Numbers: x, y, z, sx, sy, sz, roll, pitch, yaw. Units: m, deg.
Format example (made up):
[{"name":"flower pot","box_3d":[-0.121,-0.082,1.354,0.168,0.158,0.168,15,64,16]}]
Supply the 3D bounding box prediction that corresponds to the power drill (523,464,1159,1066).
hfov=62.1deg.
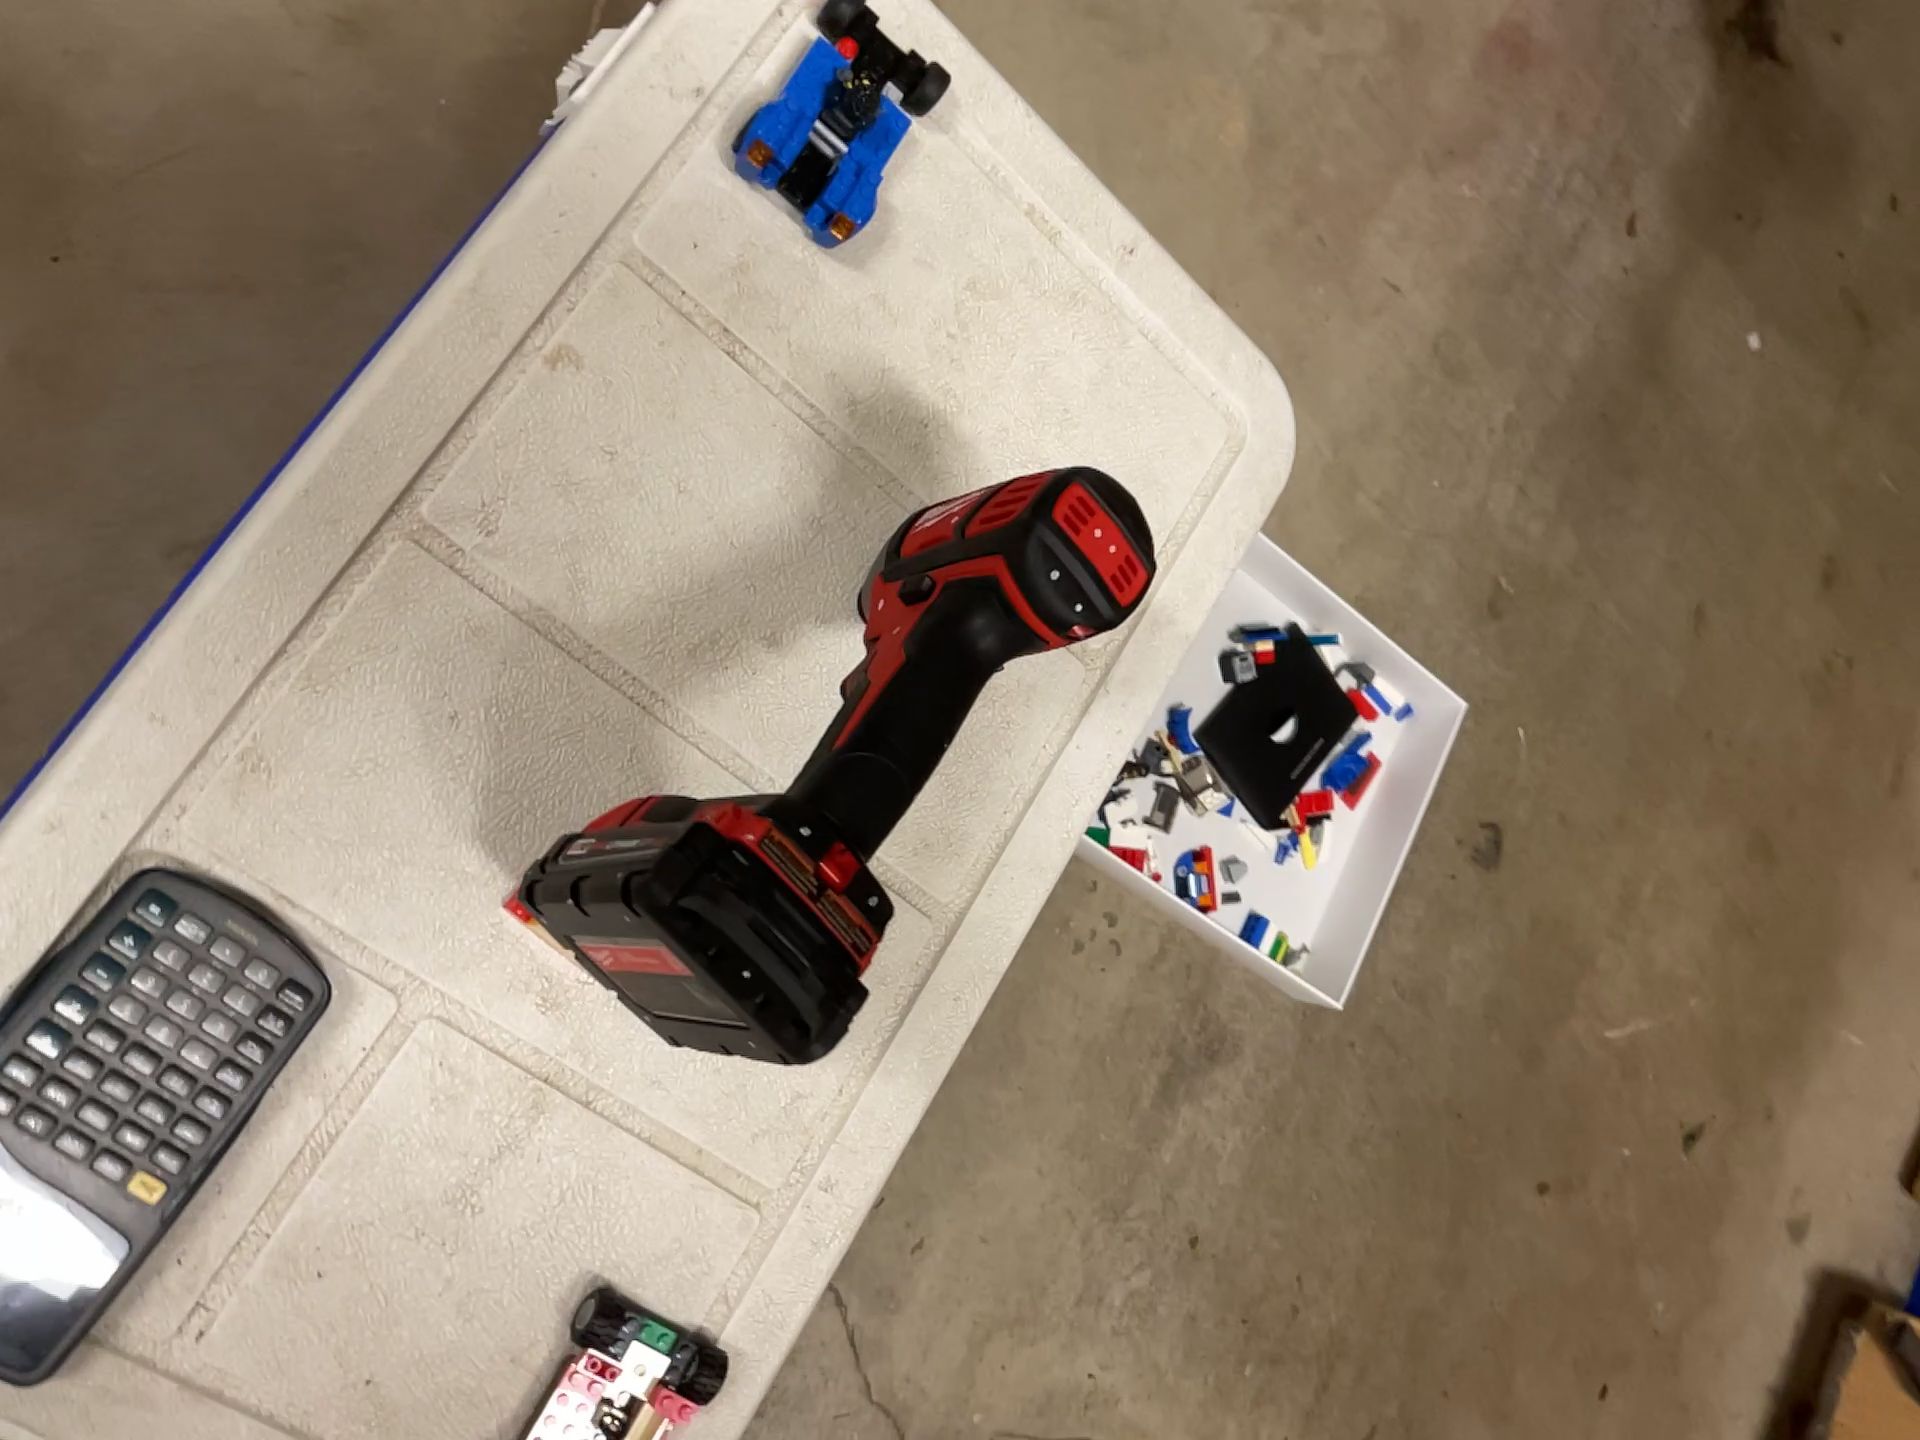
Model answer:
[{"name":"power drill","box_3d":[-0.037,0.004,0.545,0.078,0.143,0.220,50,61,-21]}]
